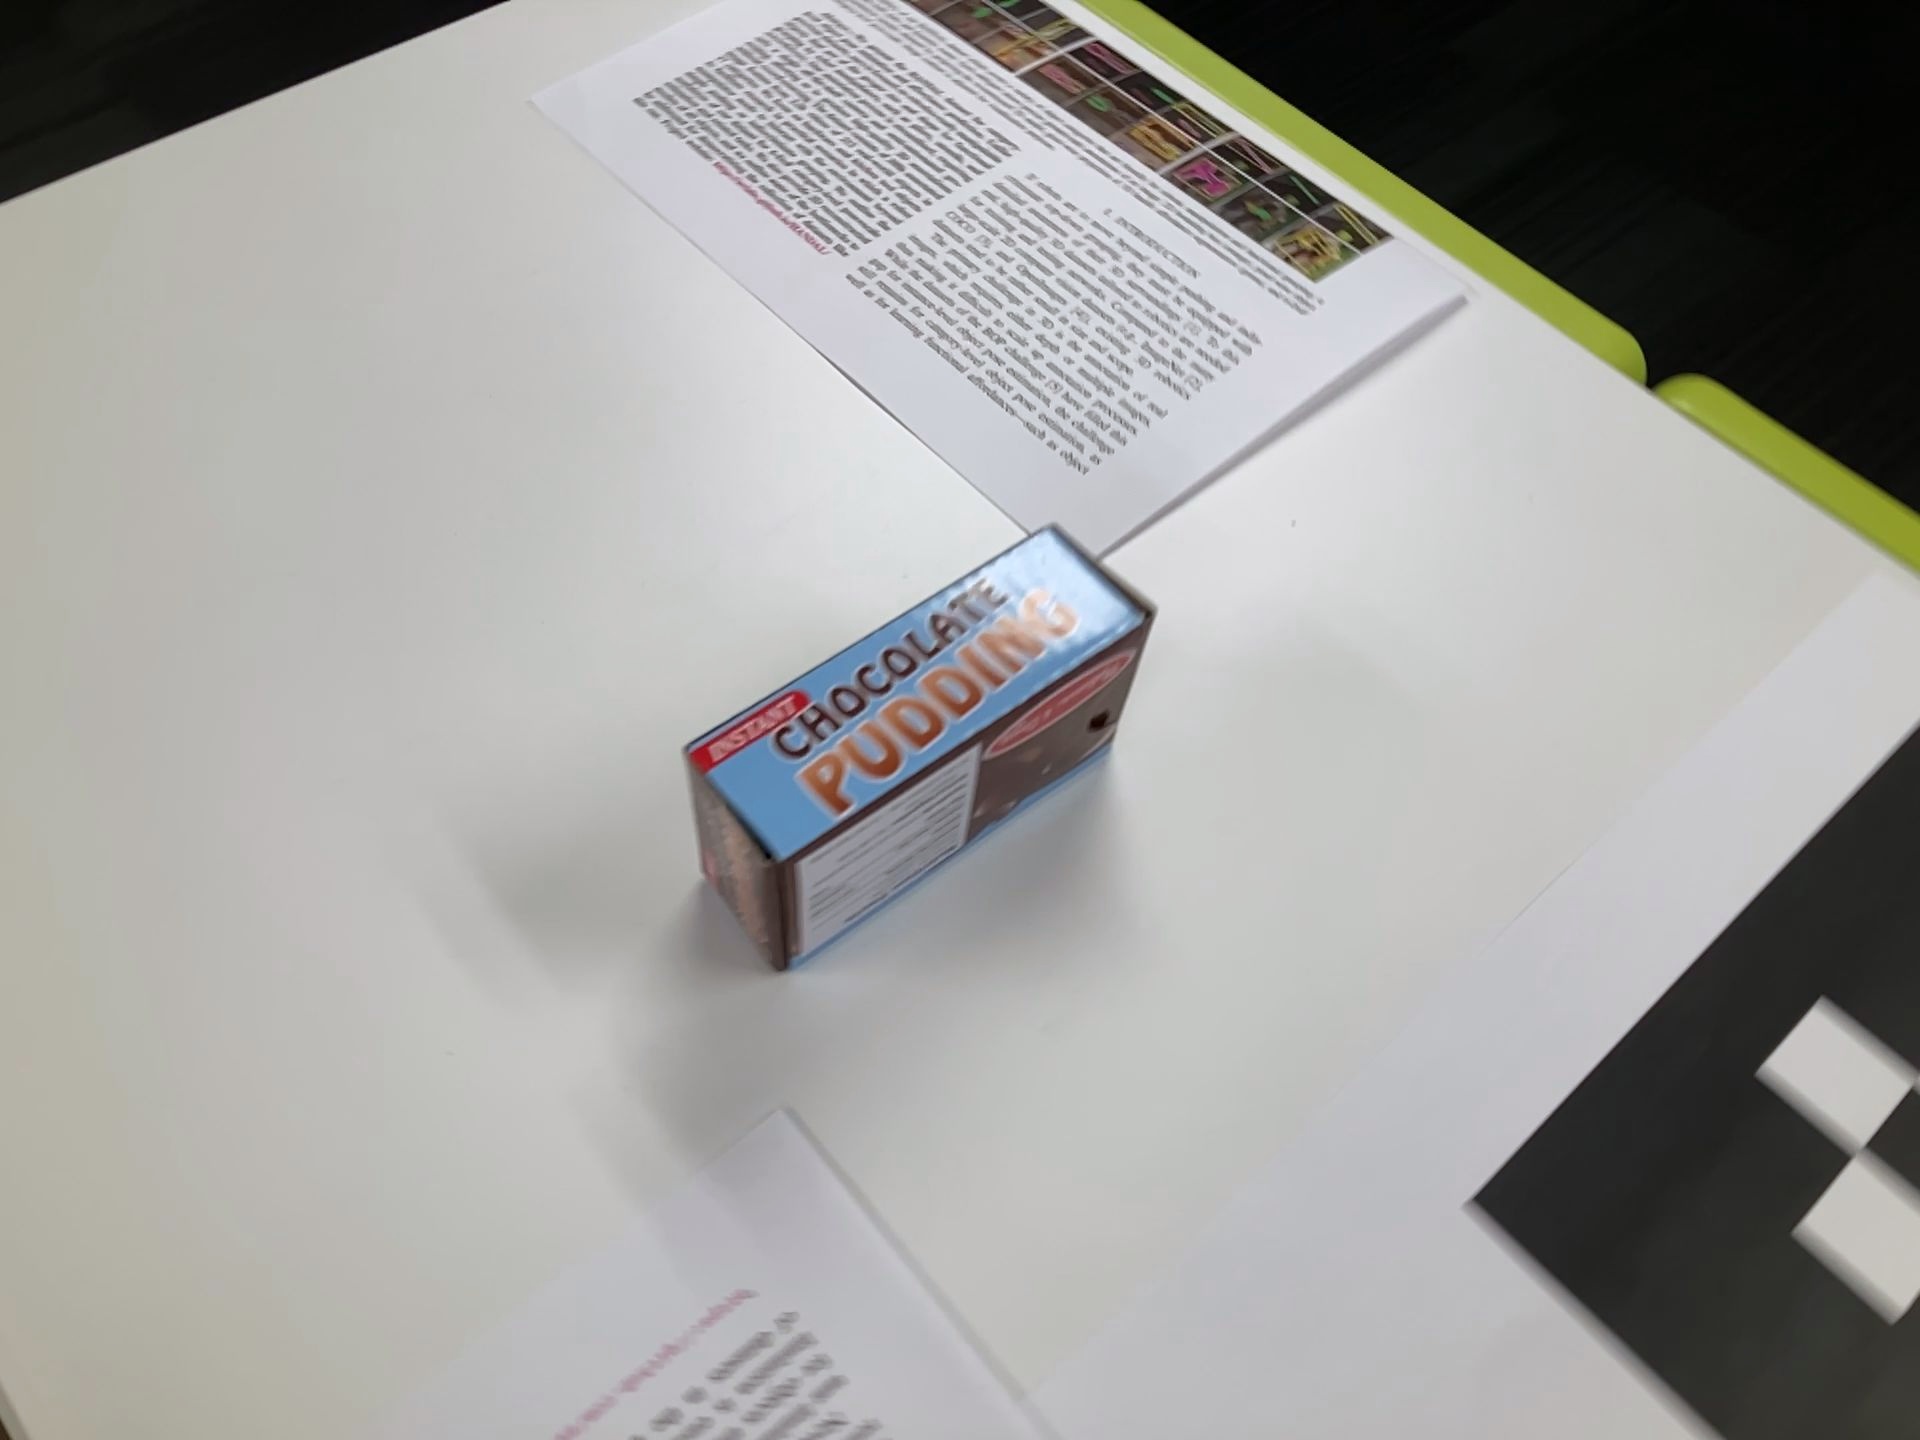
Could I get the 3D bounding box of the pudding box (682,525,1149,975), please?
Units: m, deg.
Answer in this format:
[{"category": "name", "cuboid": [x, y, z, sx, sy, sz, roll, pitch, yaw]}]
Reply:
[{"category": "pudding box", "cuboid": [-0.008, 0.006, 0.293, 0.083, 0.049, 0.030, -33, 66, -22]}]
